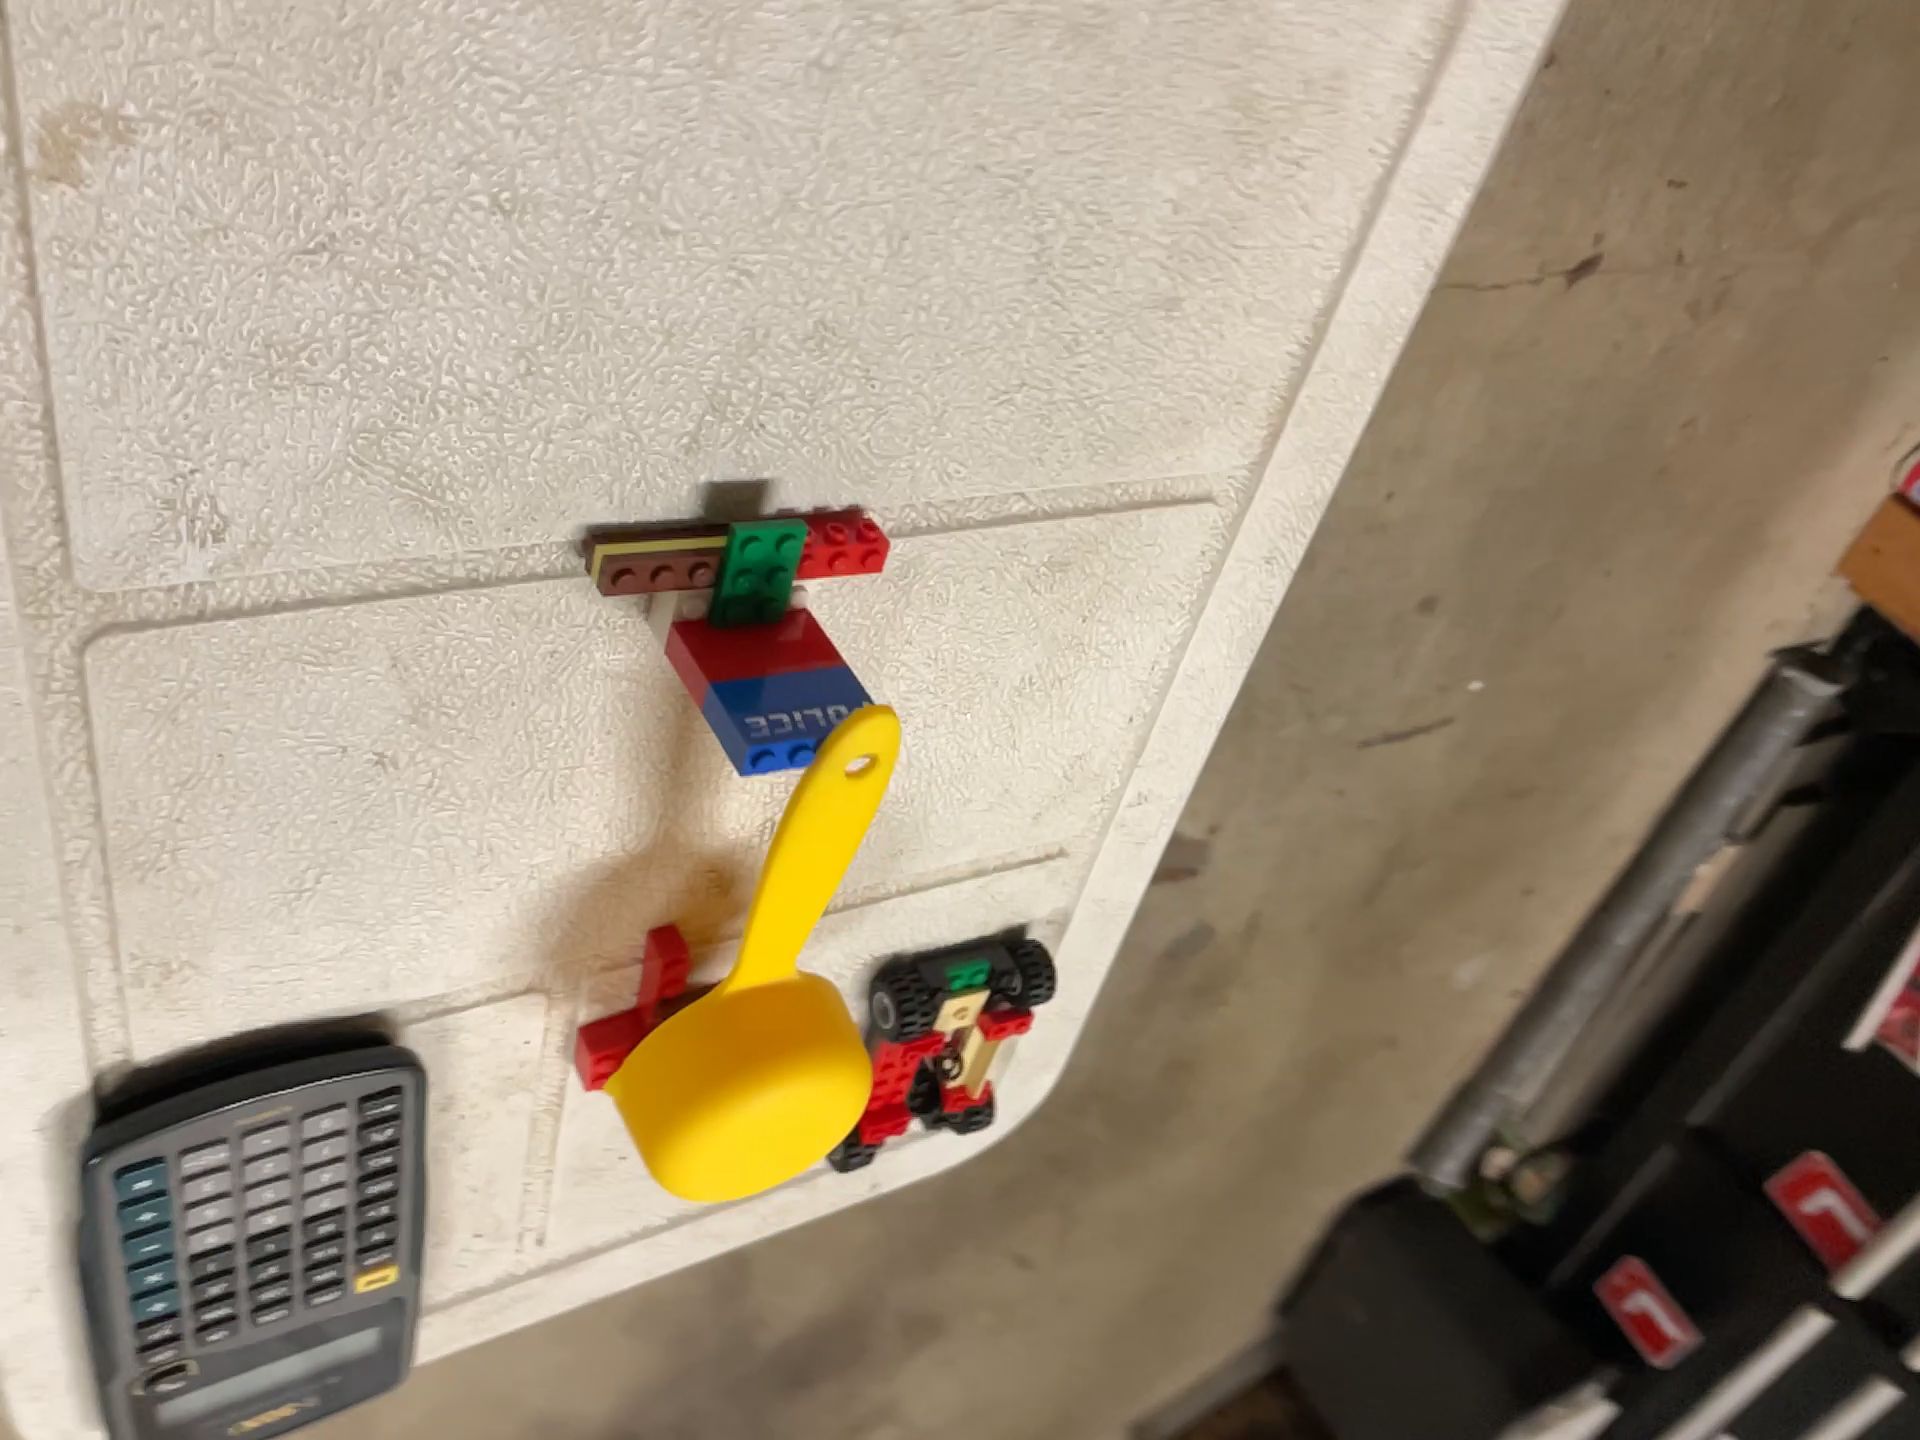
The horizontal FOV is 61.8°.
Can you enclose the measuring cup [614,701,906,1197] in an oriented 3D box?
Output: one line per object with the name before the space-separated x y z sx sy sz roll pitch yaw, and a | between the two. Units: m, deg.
measuring cup | -0.035 0.058 0.354 0.062 0.029 0.156 -10 142 -32
